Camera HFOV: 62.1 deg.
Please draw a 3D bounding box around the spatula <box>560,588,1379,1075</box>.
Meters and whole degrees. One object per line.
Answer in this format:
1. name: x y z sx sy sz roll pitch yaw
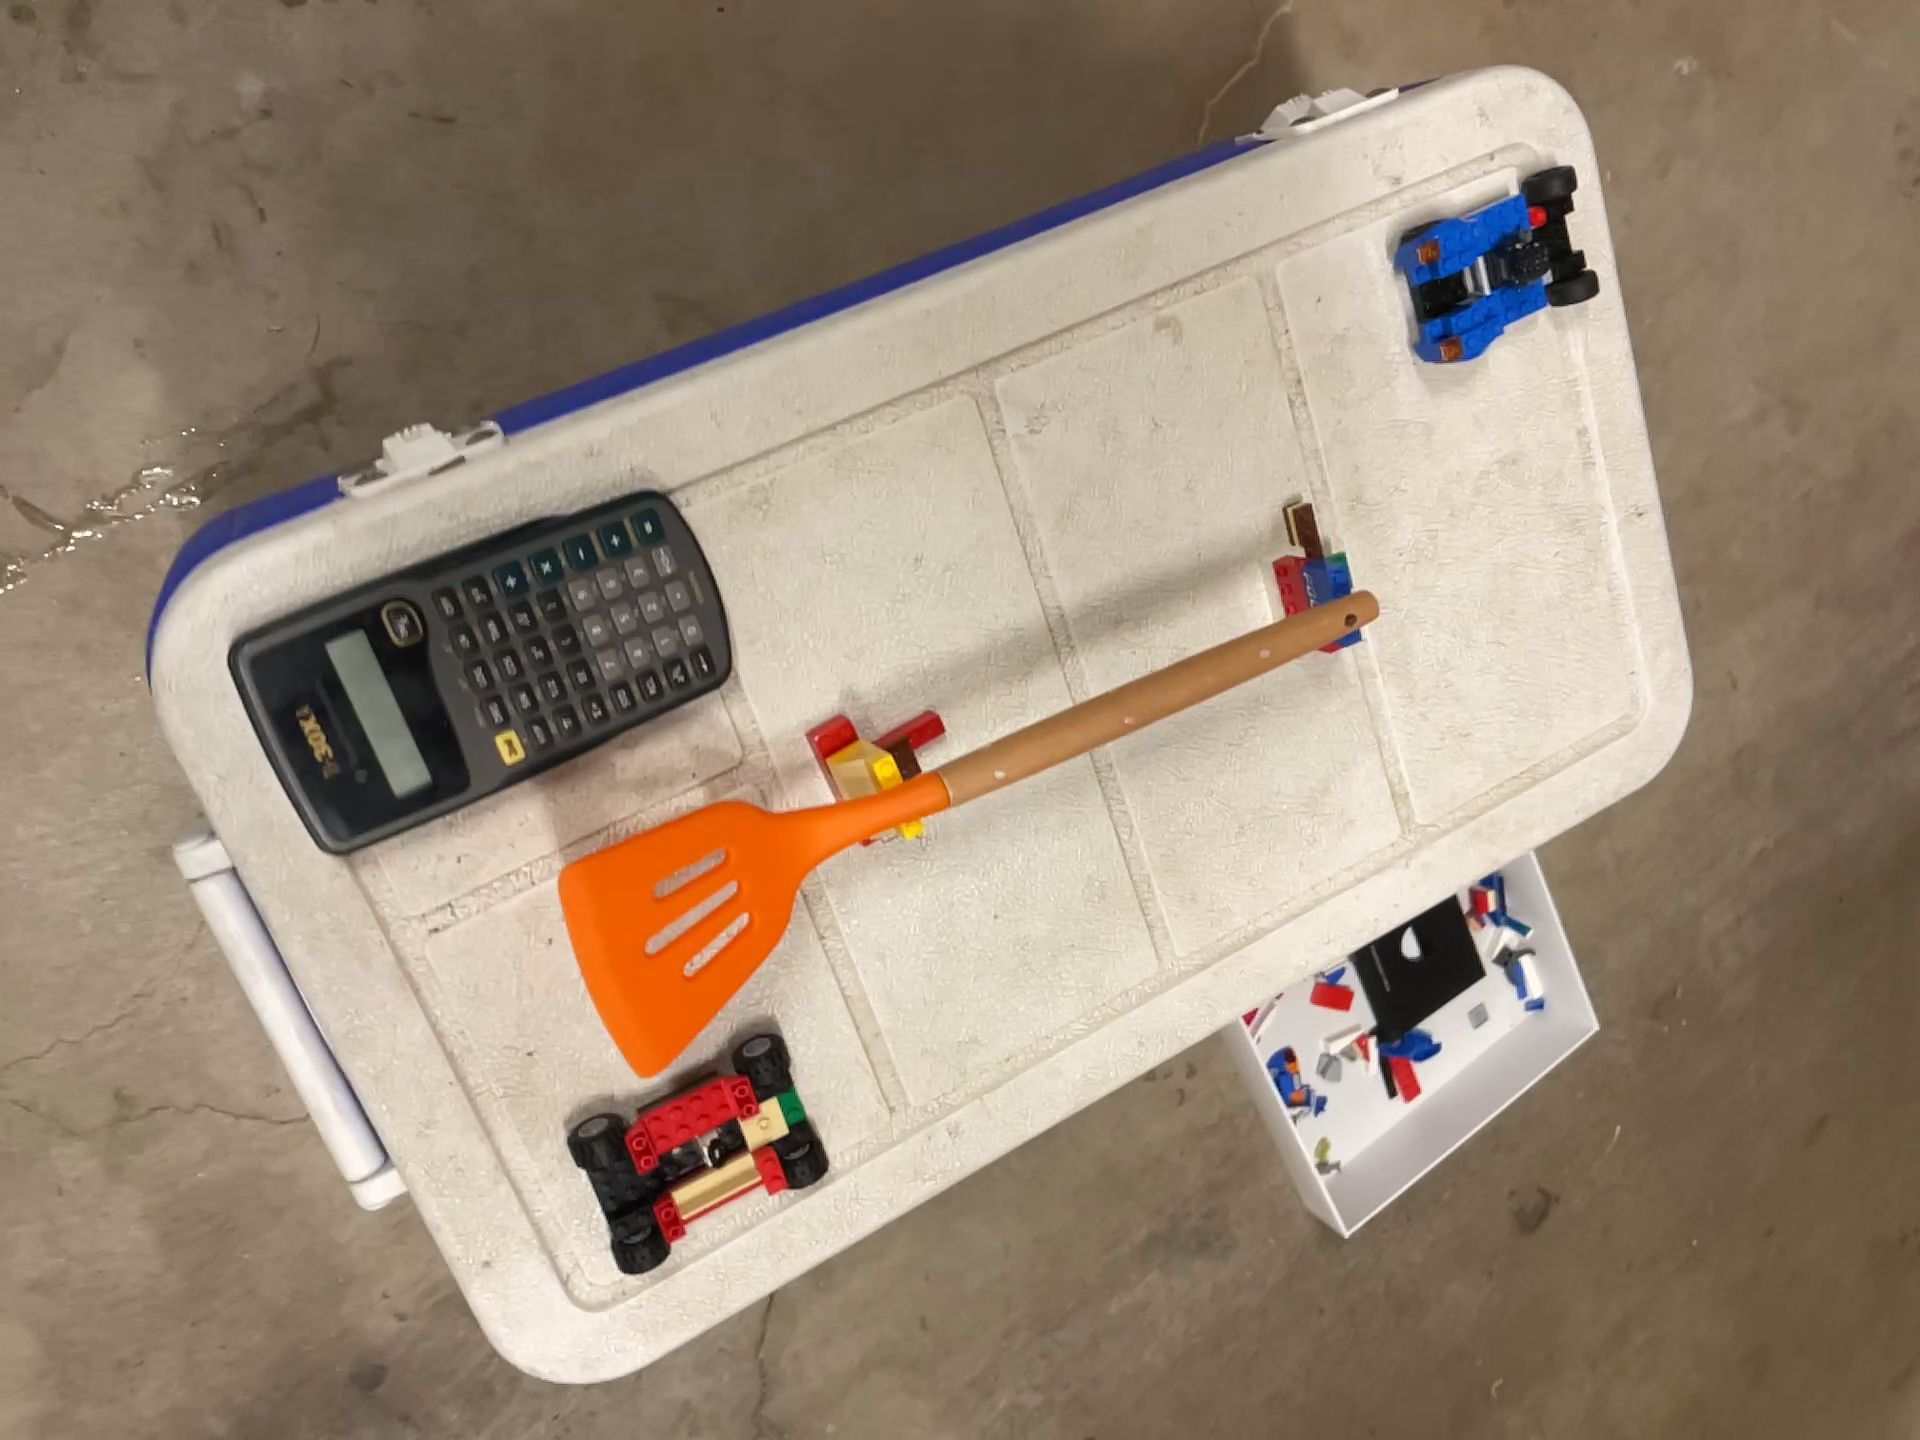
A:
1. spatula: 0.019 0.017 0.561 0.323 0.041 0.081 -23 112 -17
